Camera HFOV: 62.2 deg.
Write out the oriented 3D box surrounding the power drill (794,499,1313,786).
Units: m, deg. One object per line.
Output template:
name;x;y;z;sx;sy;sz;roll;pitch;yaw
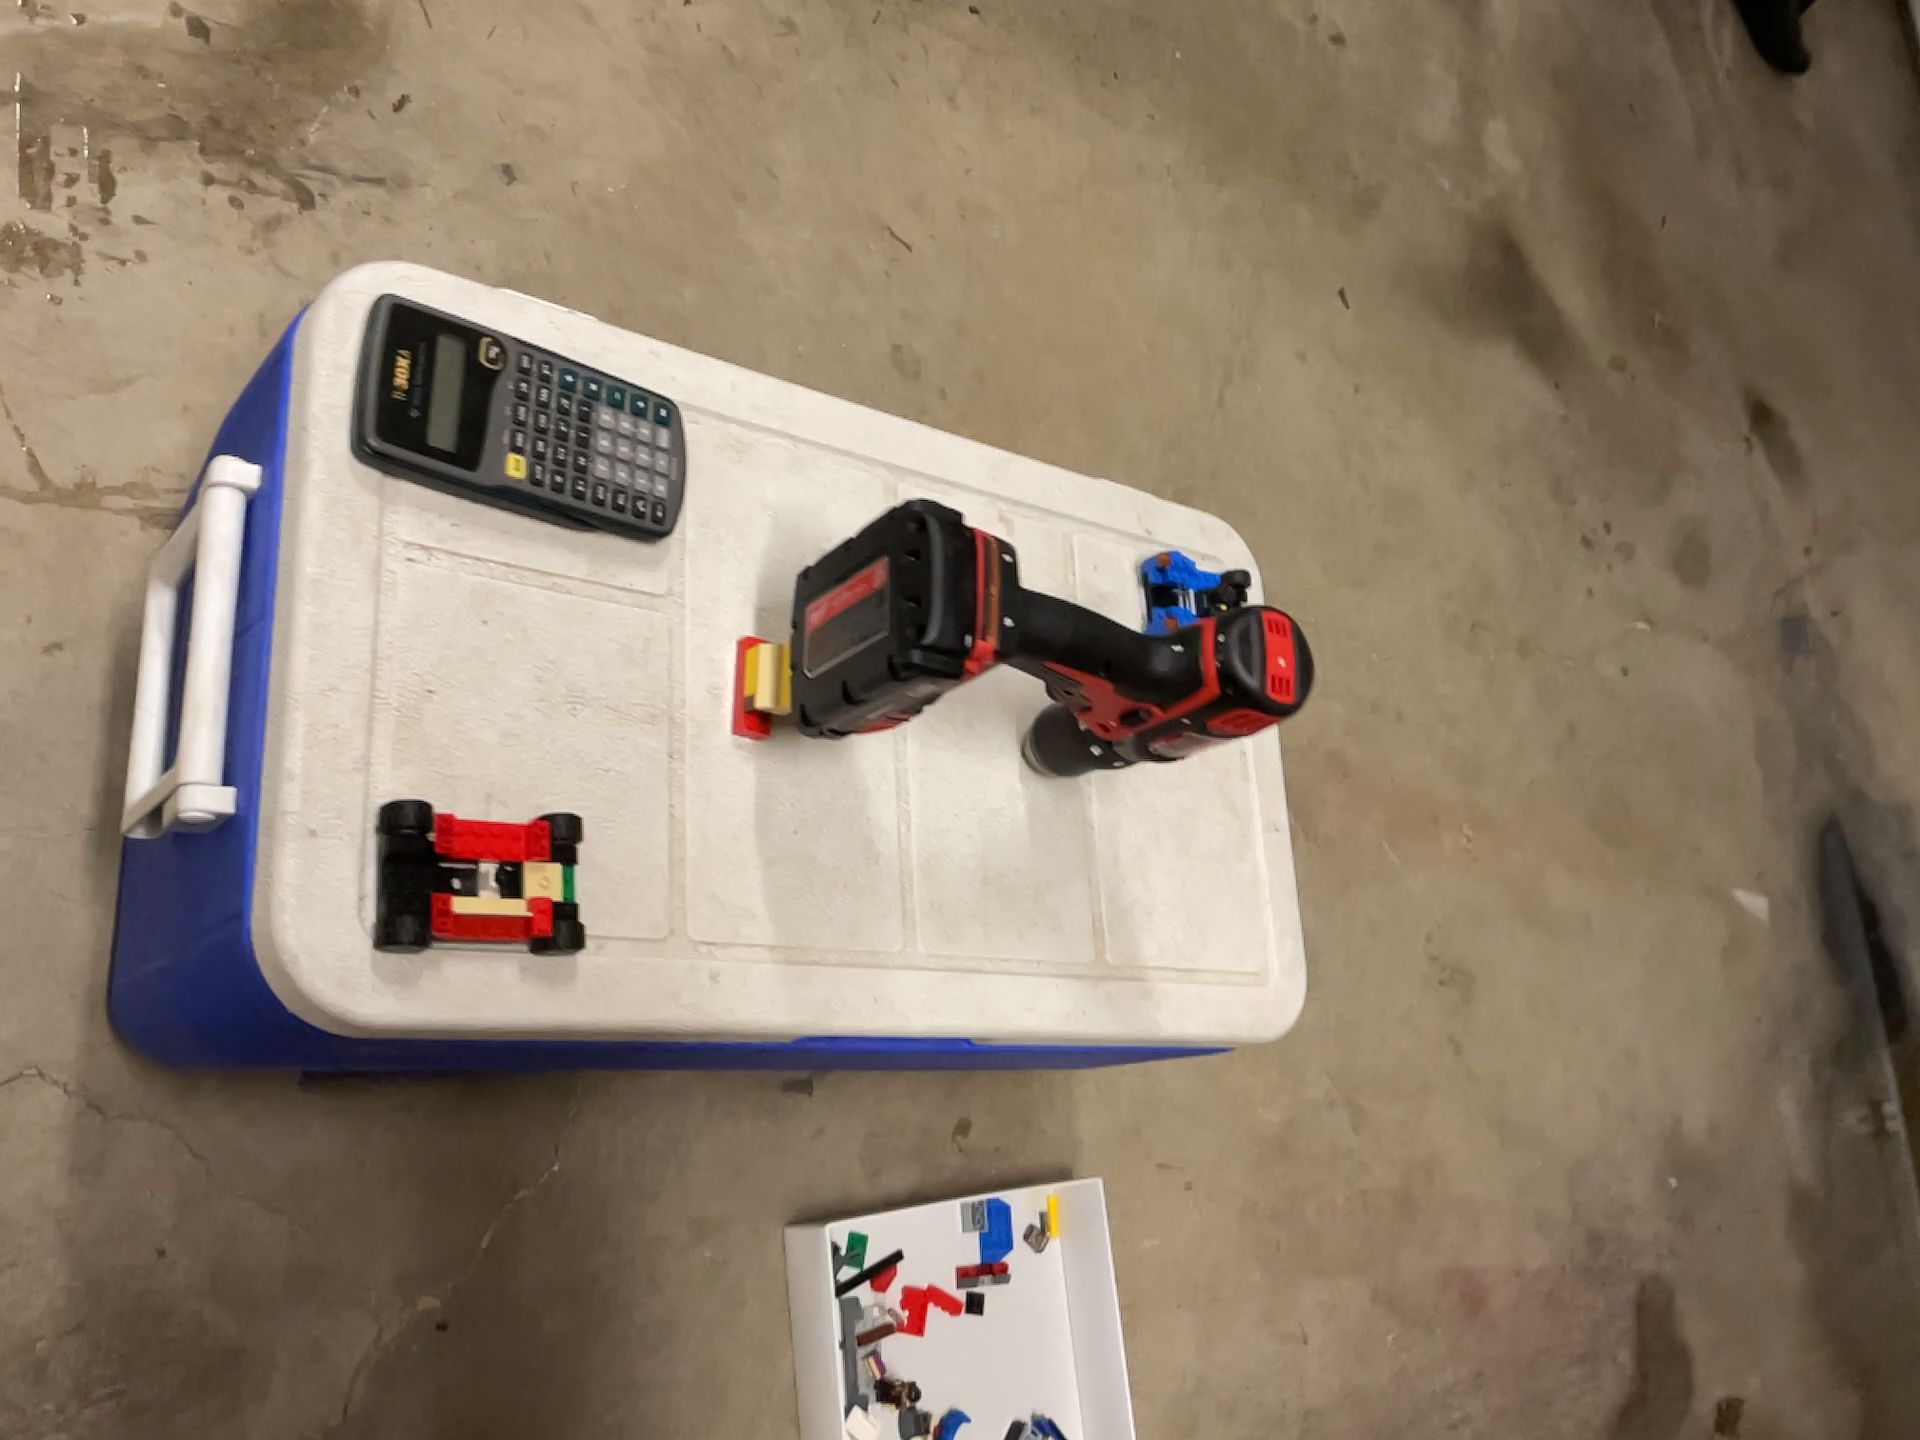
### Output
power drill;0.032;-0.020;0.779;0.227;0.187;0.080;12;67;-32
